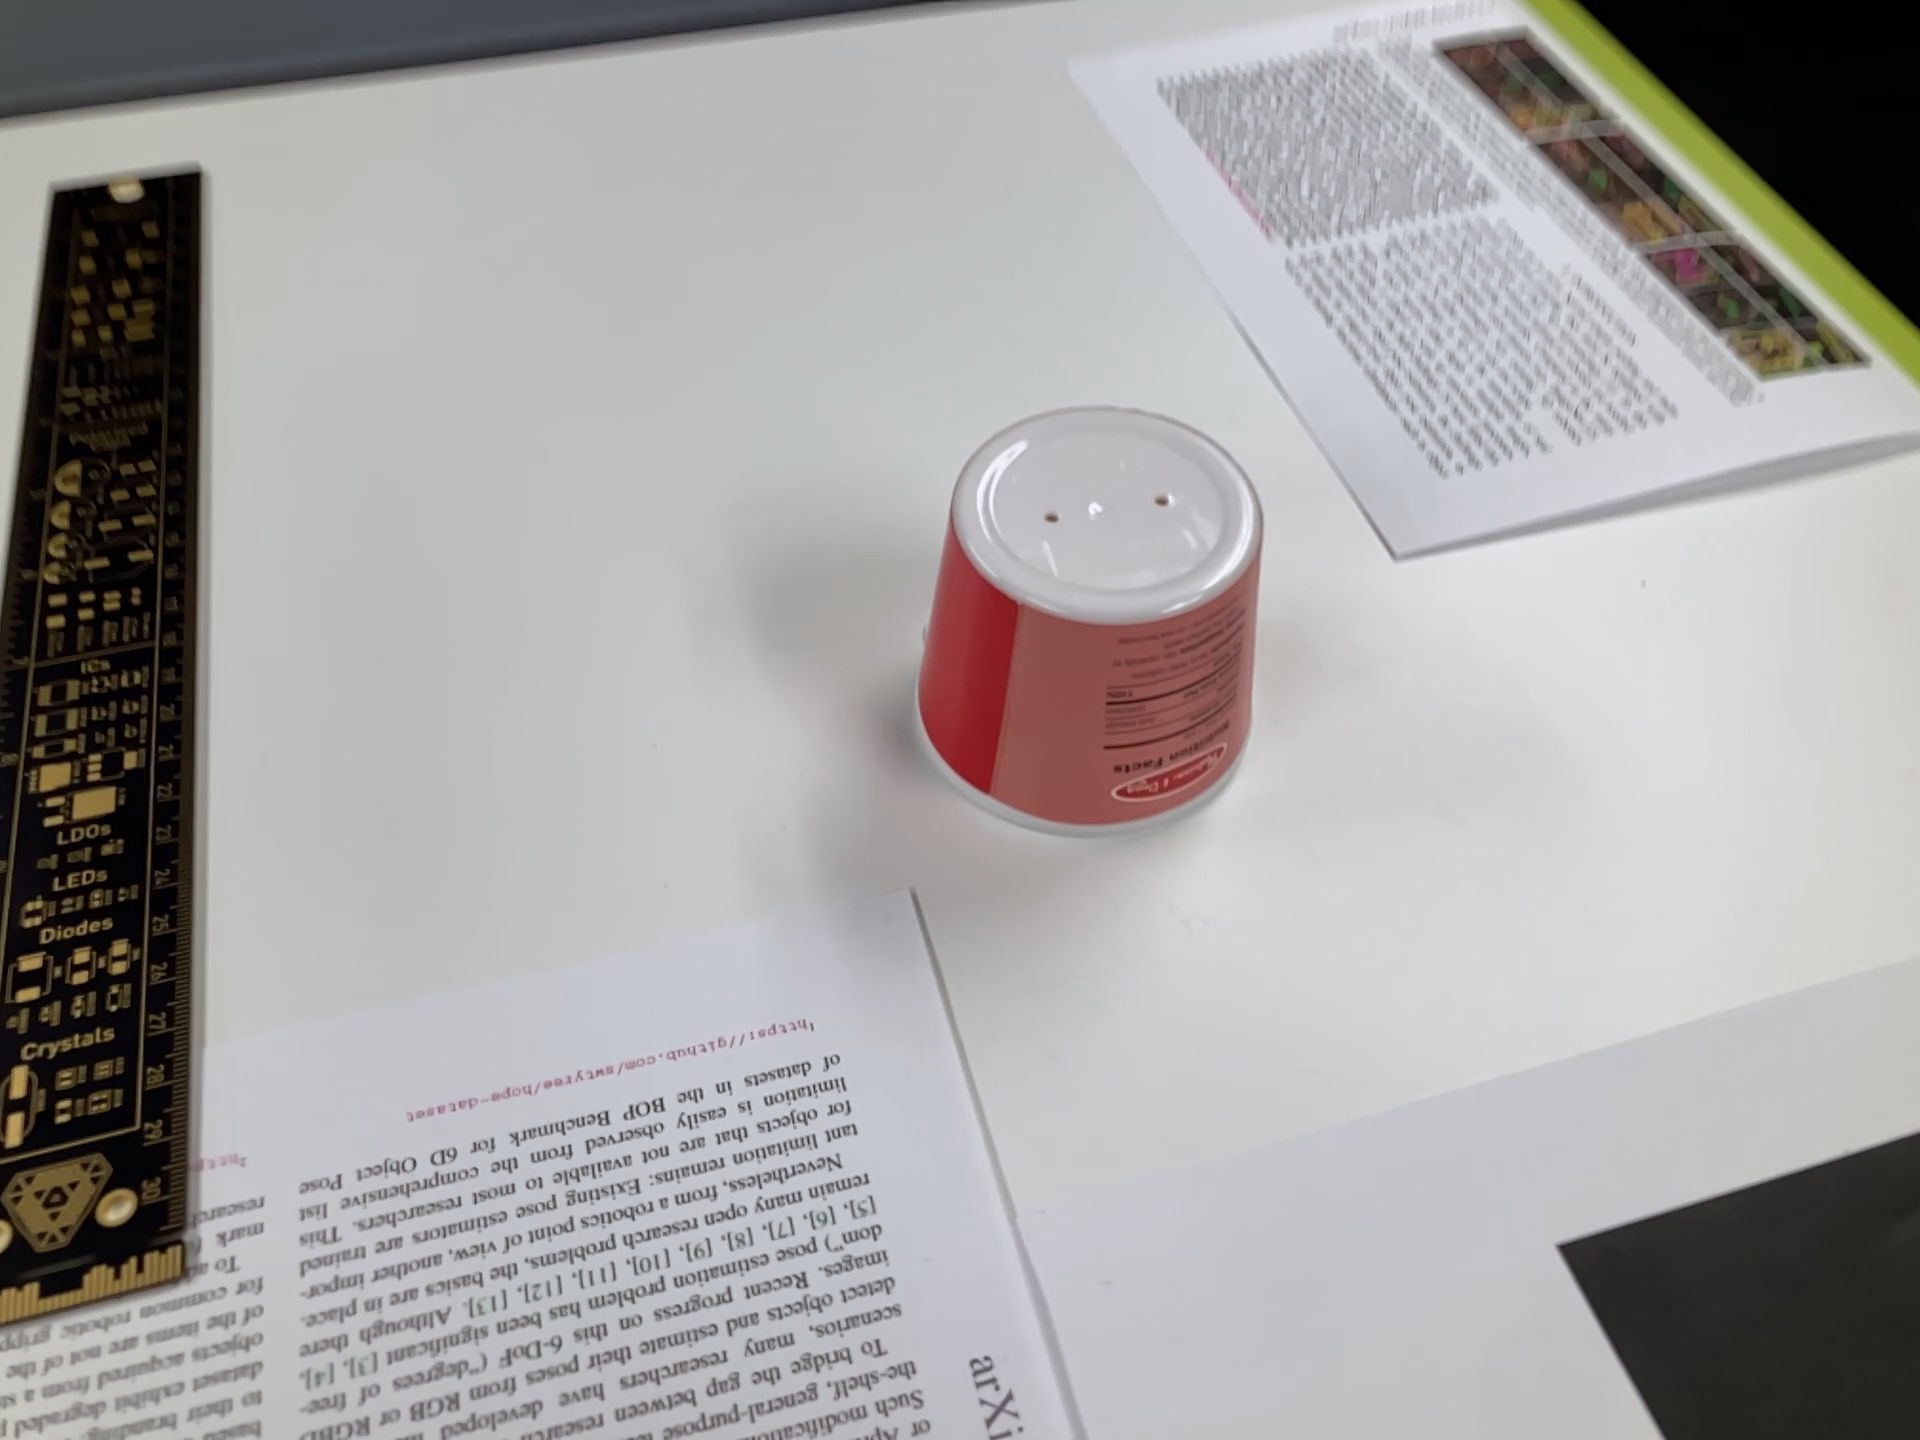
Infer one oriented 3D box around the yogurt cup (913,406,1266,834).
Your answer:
[{"bbox_3d":[0.025,-0.021,0.295,0.072,0.054,0.072,1,50,-1],"label":"yogurt cup"}]
